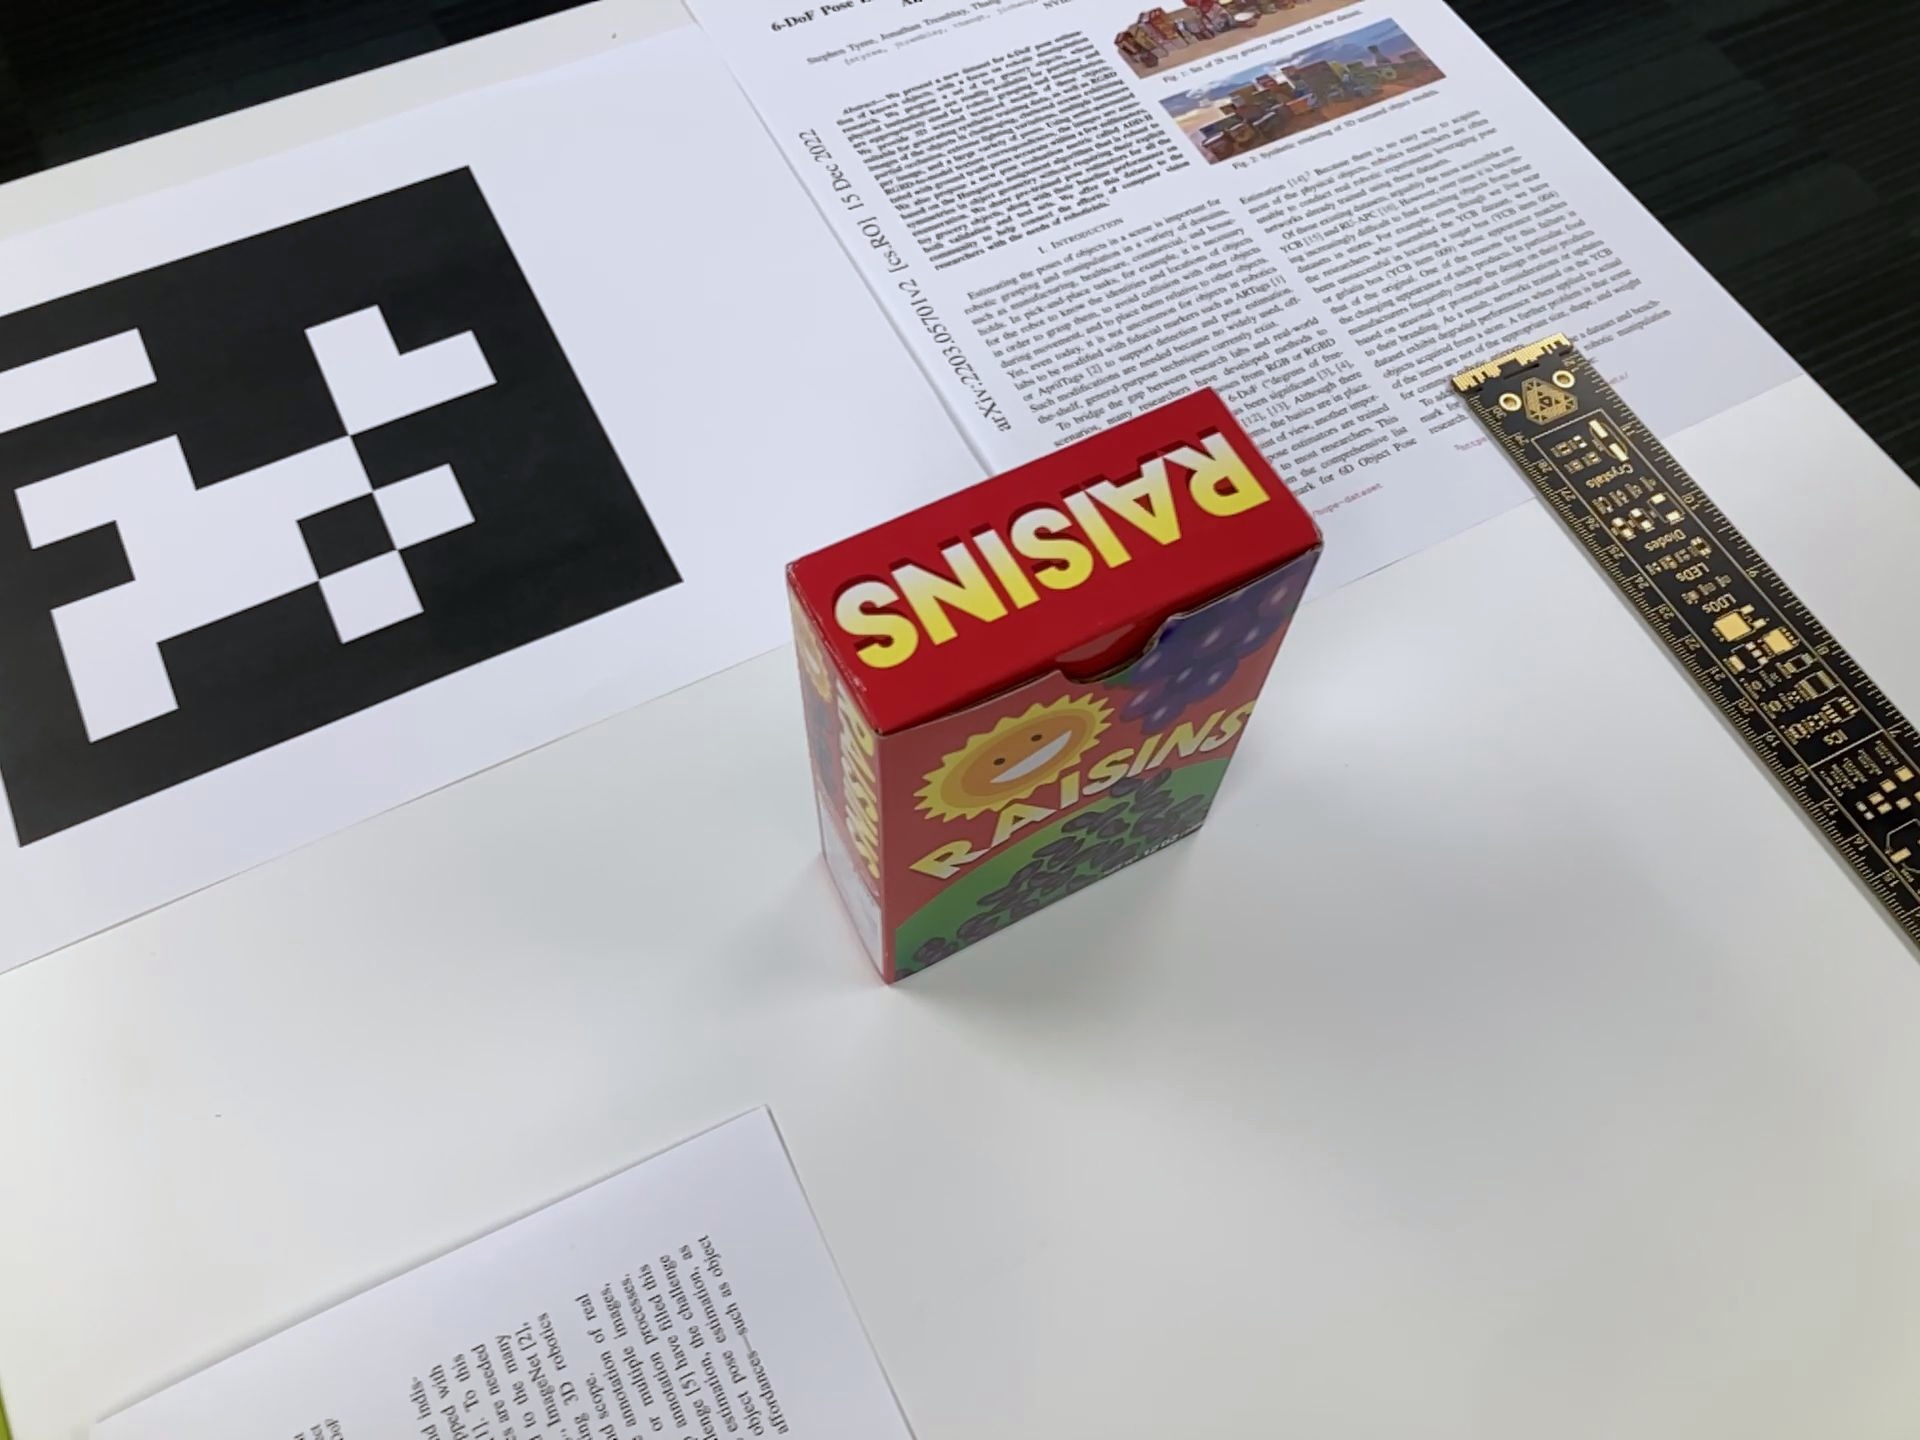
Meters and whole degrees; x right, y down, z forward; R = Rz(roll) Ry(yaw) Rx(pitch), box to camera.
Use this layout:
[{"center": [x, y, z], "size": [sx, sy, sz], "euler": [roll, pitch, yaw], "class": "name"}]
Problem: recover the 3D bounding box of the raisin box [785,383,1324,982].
[{"center": [0.014, 0.000, 0.314], "size": [0.086, 0.123, 0.040], "euler": [-24, 65, -14], "class": "raisin box"}]
